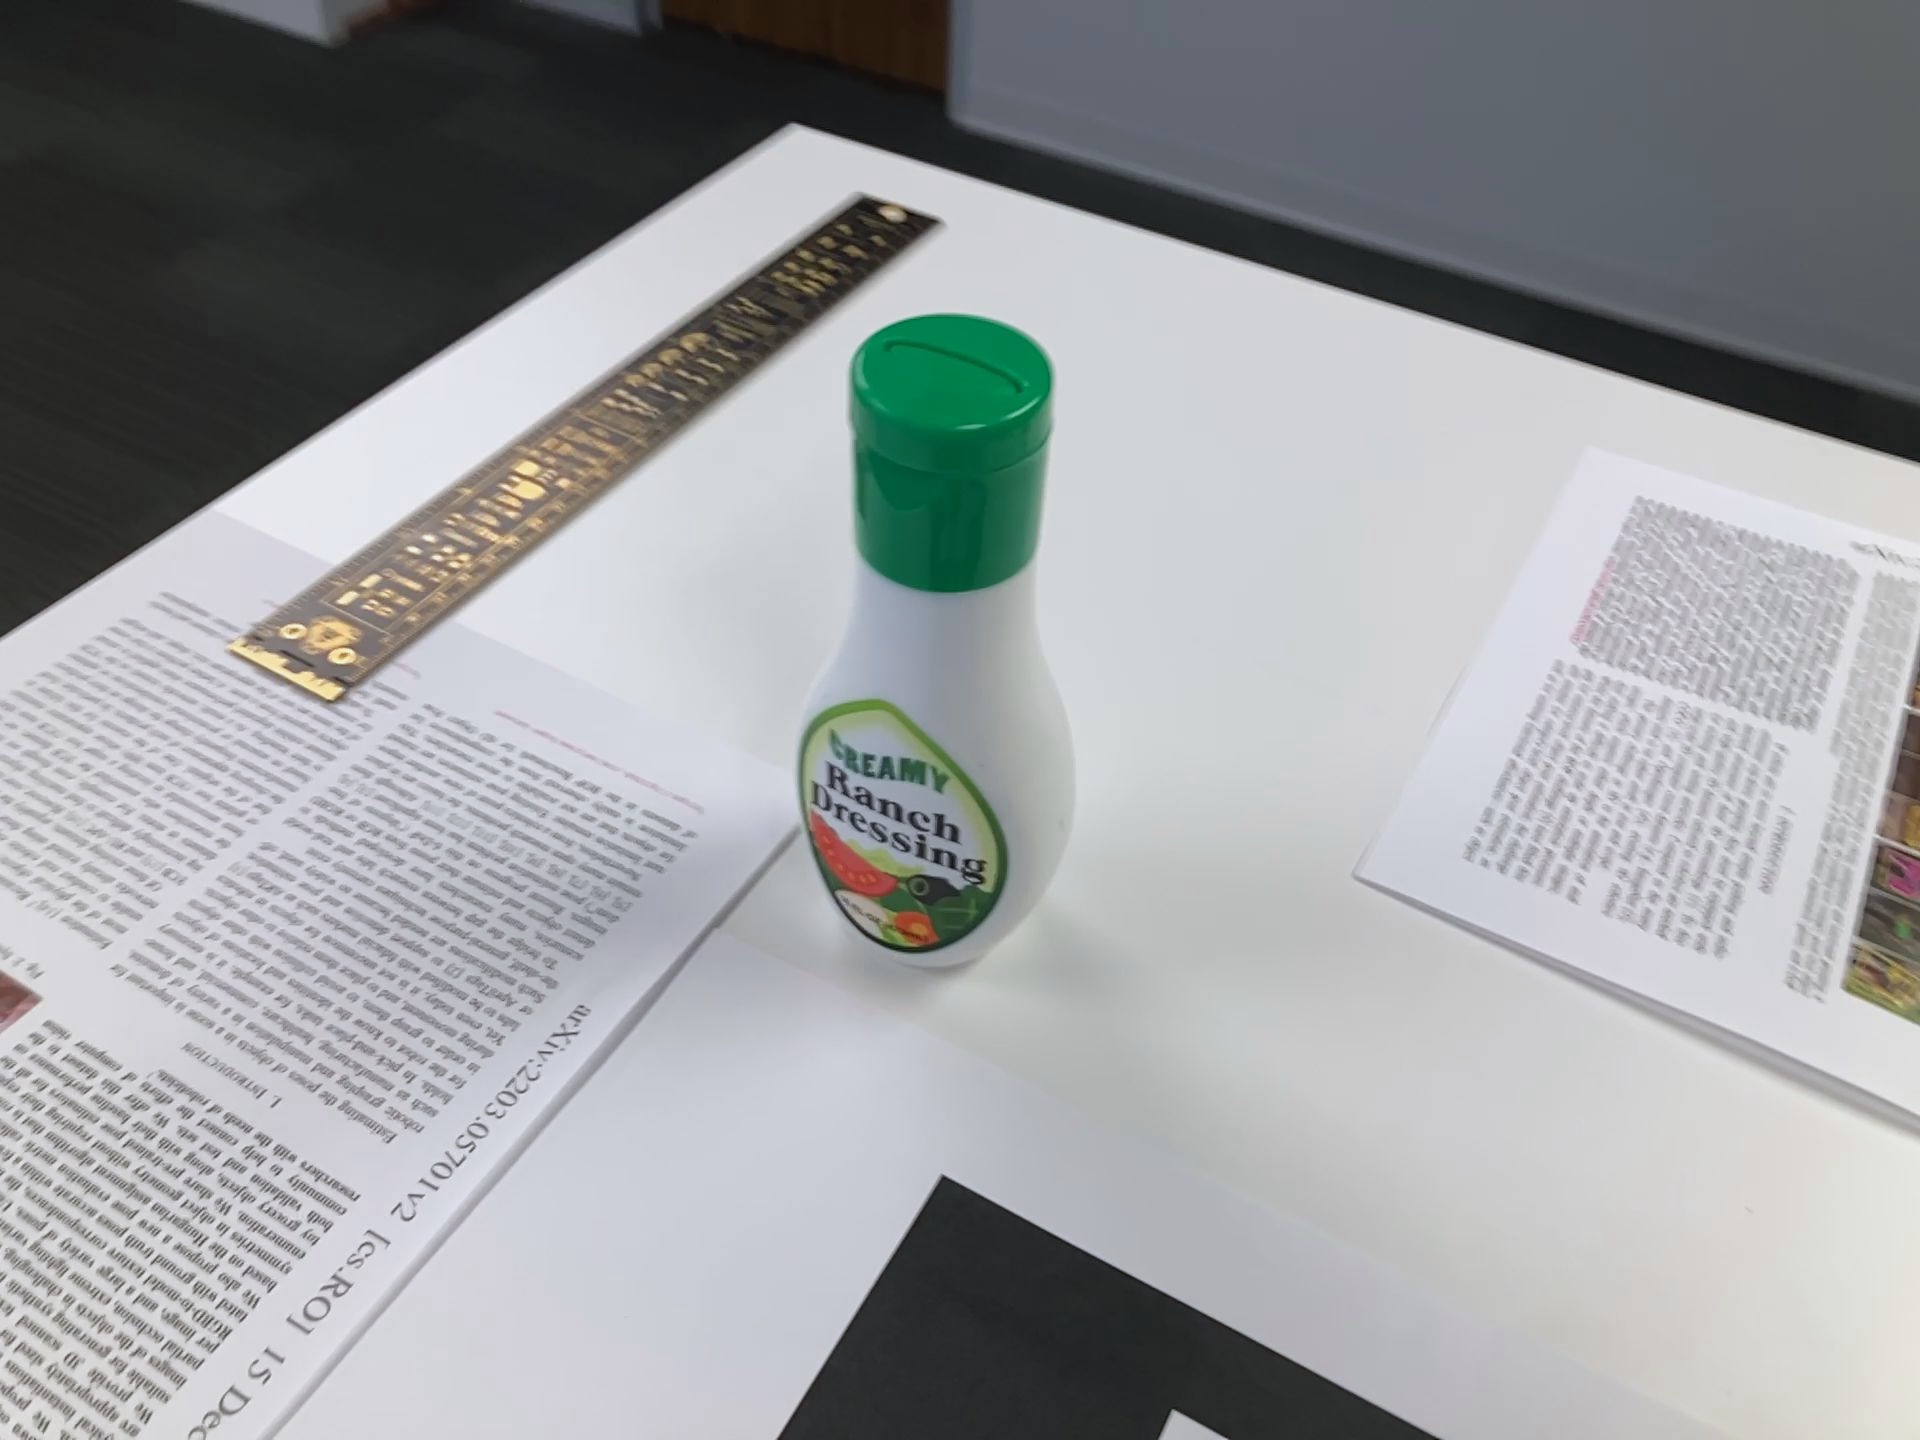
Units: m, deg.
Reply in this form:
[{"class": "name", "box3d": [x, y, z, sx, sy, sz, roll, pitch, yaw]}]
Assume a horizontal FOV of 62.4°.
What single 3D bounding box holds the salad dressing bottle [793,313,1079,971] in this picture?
[{"class": "salad dressing bottle", "box3d": [-0.004, -0.010, 0.327, 0.064, 0.147, 0.044, 23, 47, 20]}]
